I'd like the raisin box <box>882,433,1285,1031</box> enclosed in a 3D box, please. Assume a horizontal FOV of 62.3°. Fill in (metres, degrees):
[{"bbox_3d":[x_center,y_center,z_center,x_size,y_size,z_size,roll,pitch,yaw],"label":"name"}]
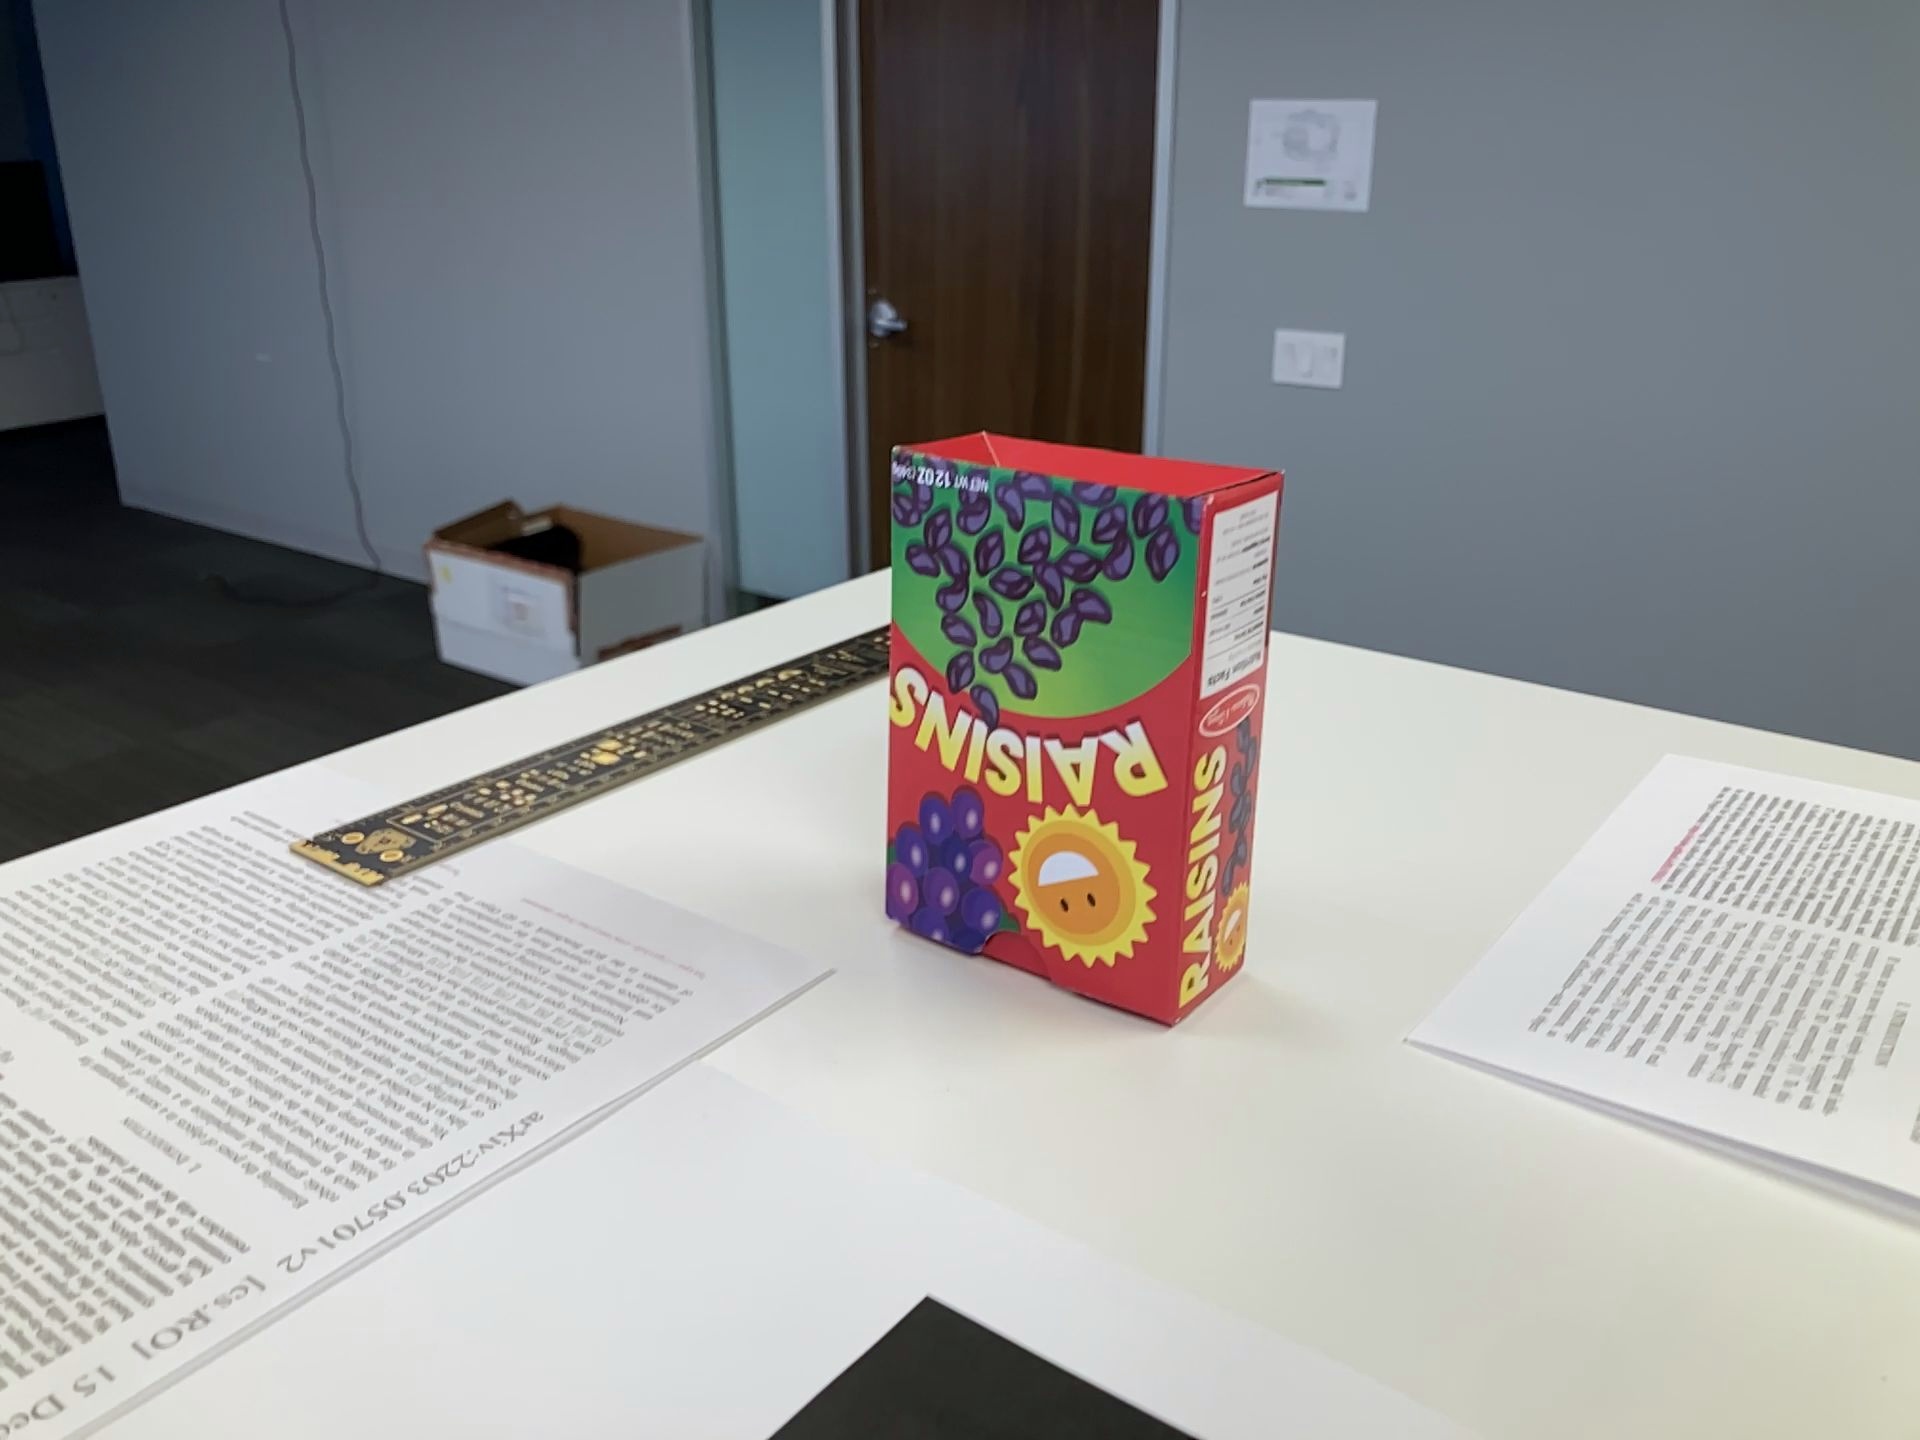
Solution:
[{"bbox_3d":[0.026,0.000,0.375,0.086,0.123,0.040,14,22,33],"label":"raisin box"}]
